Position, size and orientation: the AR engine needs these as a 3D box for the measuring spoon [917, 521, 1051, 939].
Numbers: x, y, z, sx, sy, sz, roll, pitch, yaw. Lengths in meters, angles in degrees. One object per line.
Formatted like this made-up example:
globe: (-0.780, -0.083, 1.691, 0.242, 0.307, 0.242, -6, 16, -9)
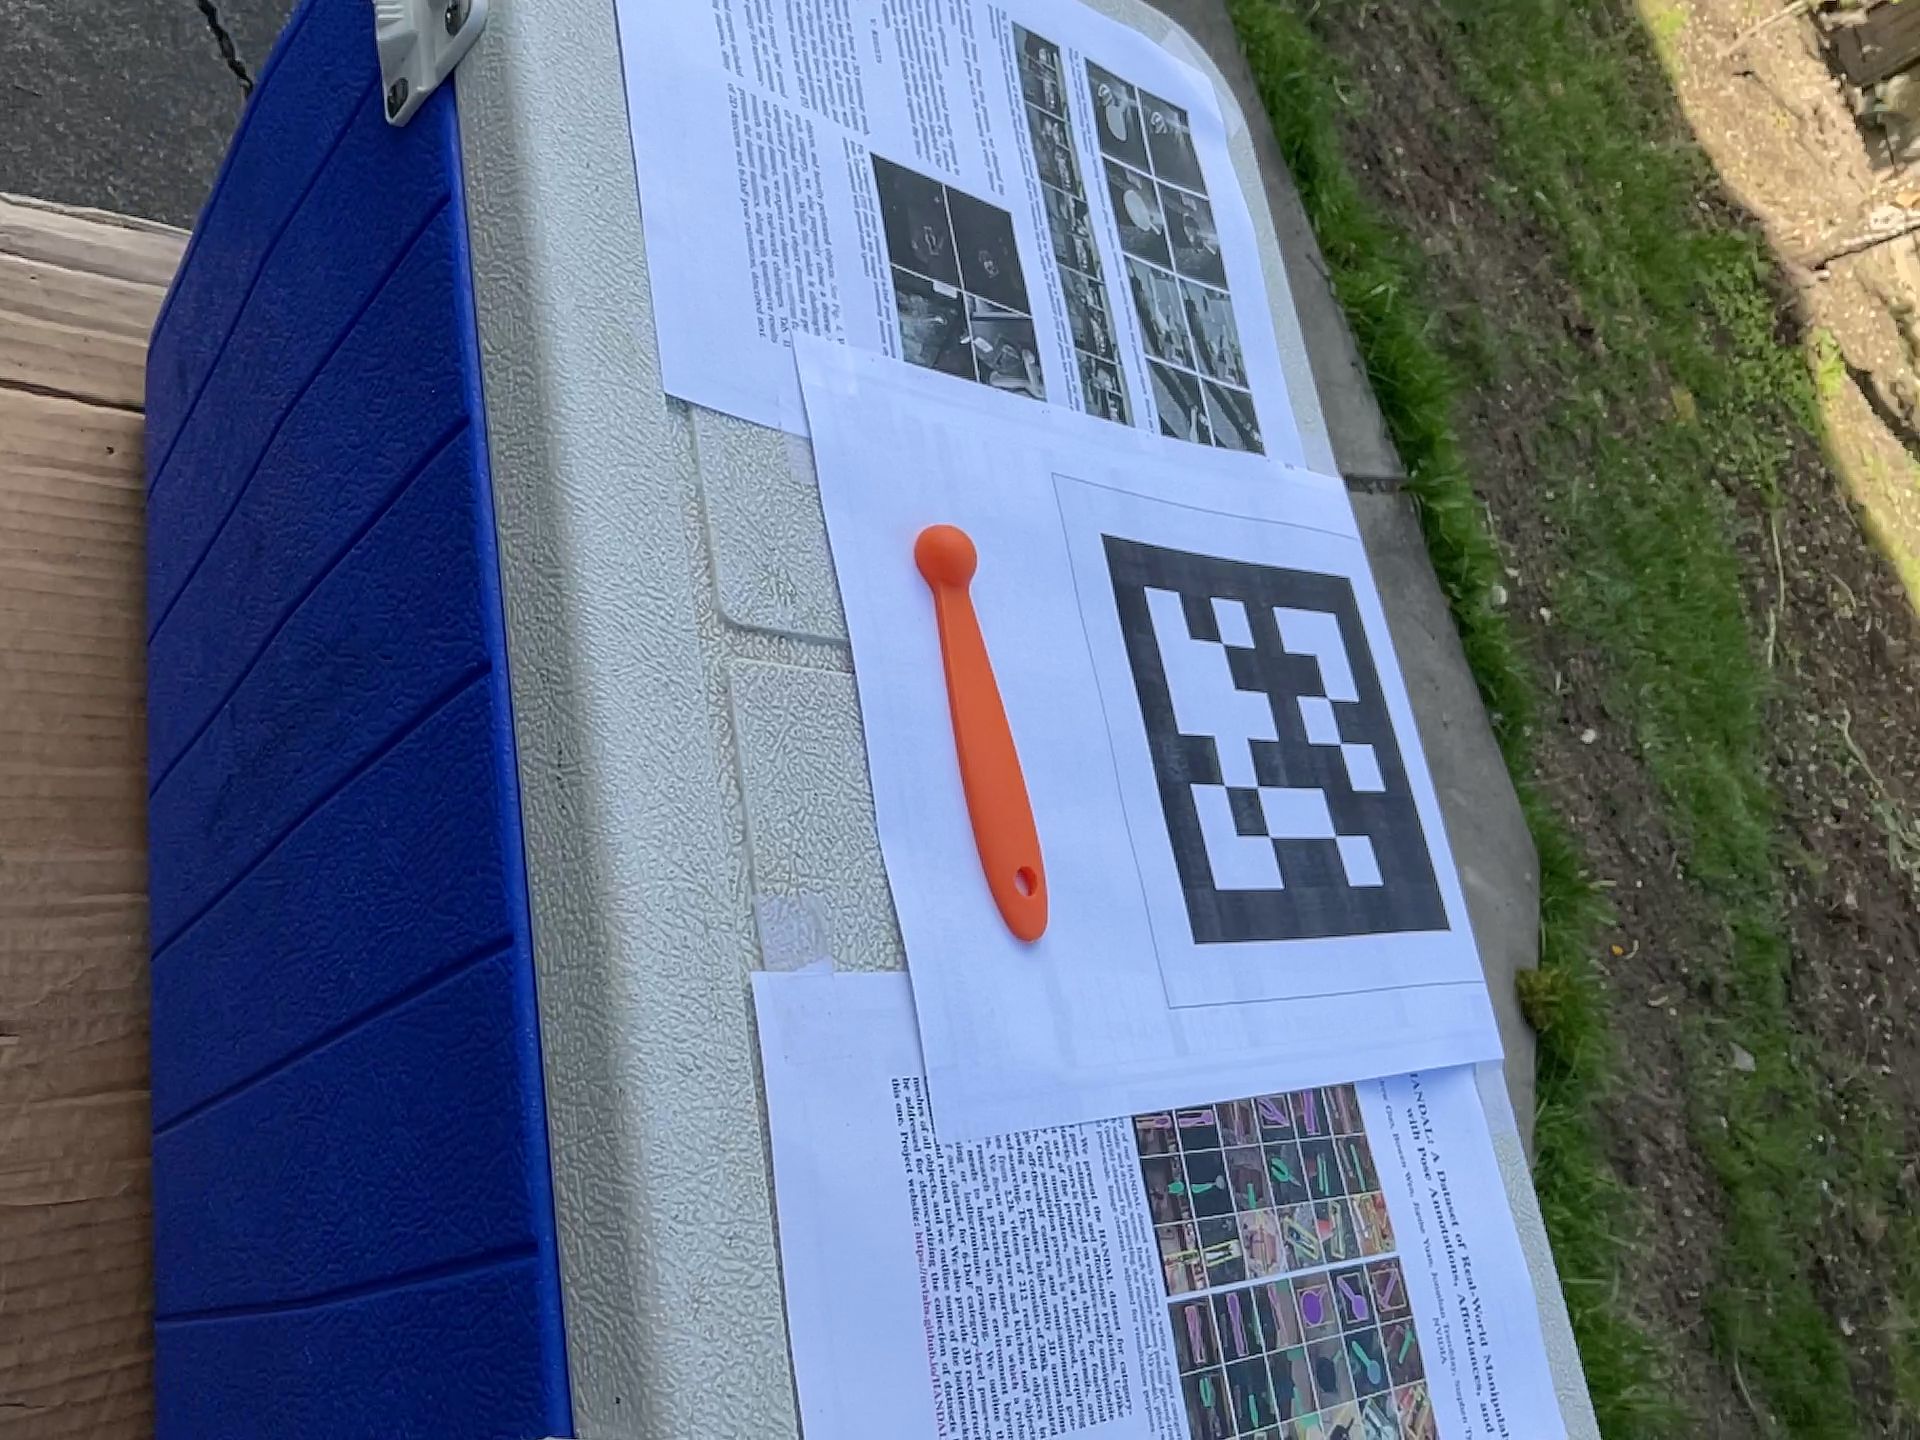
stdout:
measuring spoon: (0.009, 0.000, 0.425, 0.021, 0.011, 0.117, 0, 71, -39)
